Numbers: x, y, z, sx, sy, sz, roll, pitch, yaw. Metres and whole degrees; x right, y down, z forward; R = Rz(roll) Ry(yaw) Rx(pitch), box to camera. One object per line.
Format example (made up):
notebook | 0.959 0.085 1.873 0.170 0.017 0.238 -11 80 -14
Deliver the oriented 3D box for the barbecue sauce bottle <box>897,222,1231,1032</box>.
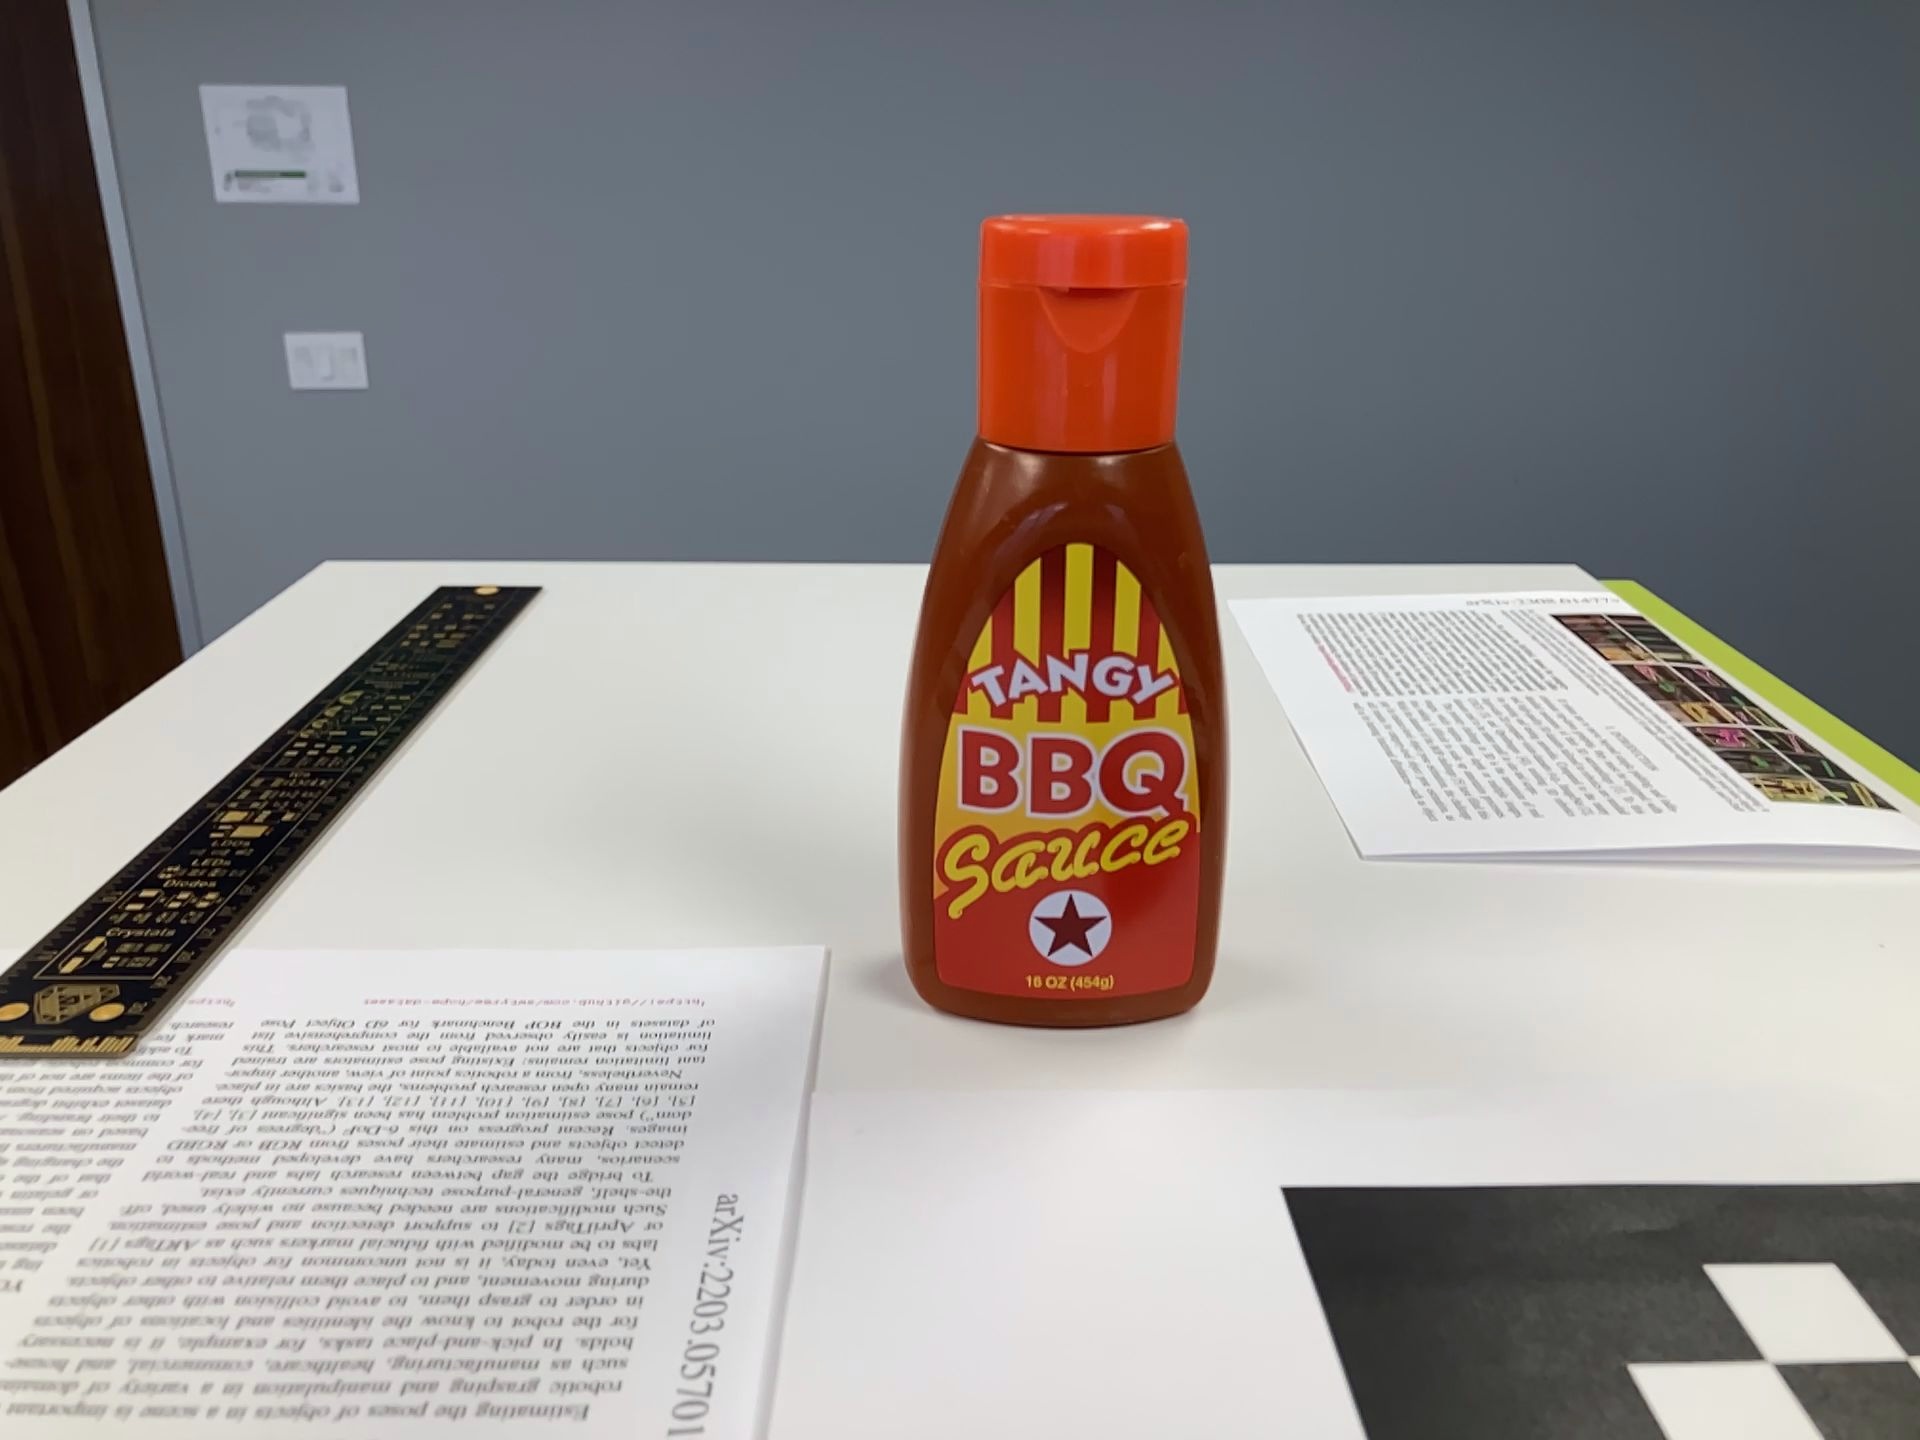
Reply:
barbecue sauce bottle | 0.020 -0.016 0.300 0.065 0.148 0.043 1 19 0
